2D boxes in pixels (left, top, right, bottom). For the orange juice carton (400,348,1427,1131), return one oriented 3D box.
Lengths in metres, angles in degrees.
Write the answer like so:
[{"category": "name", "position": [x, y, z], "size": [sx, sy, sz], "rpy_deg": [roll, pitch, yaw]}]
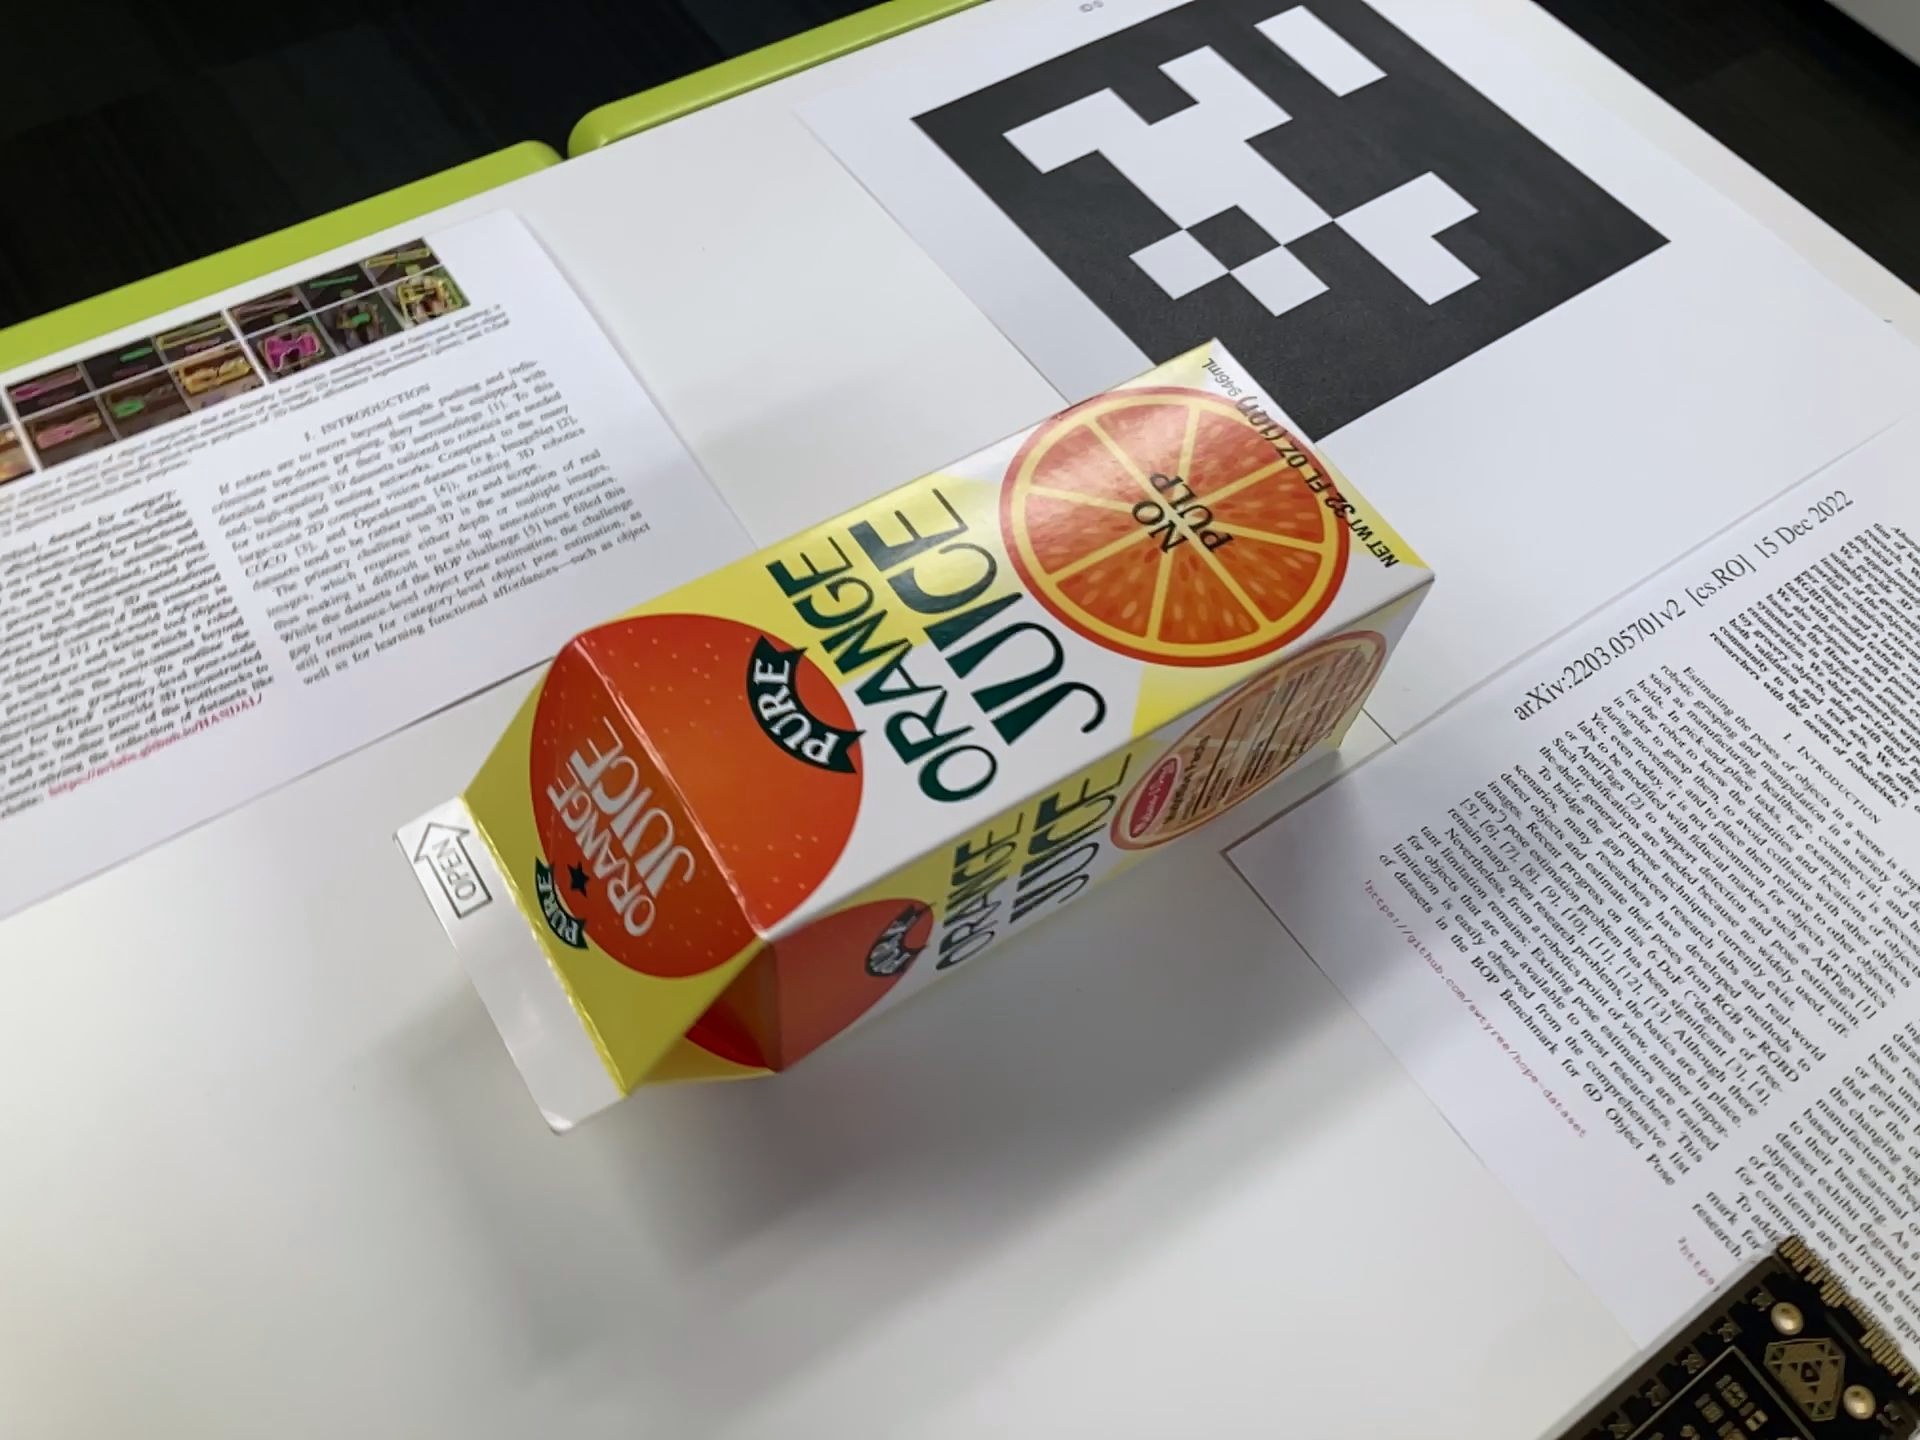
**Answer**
[{"category": "orange juice carton", "position": [-0.008, 0.005, 0.322], "size": [0.192, 0.073, 0.072], "rpy_deg": [-27, 65, -19]}]
